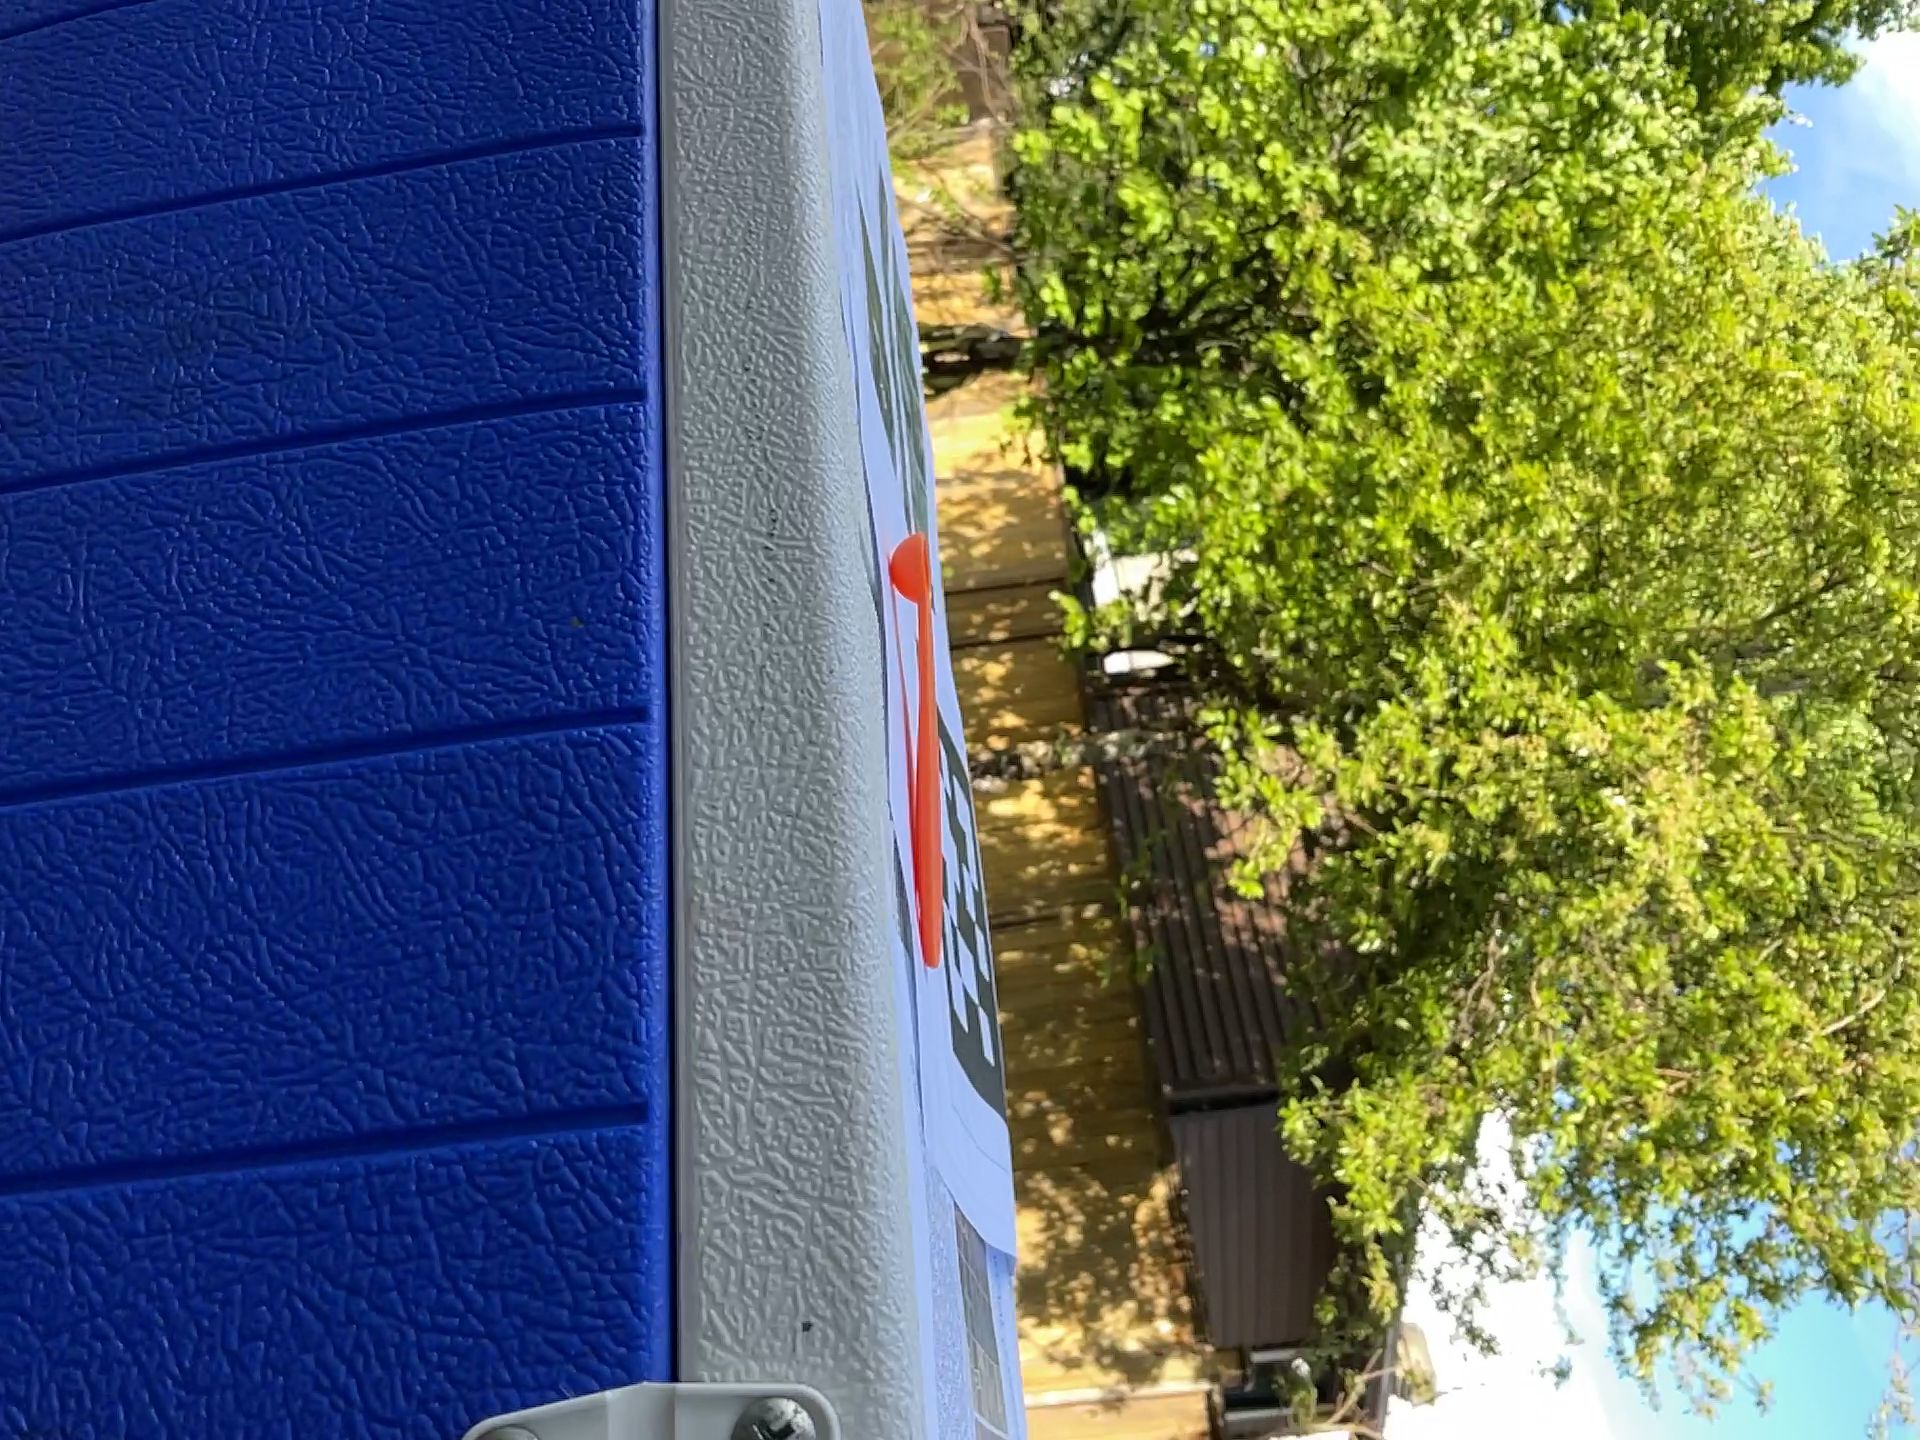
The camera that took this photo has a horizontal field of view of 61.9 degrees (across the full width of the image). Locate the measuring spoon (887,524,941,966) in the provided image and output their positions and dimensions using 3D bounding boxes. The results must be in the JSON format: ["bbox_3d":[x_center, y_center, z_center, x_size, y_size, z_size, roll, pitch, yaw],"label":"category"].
[{"bbox_3d":[-0.012,0.004,0.397,0.021,0.011,0.117,77,10,-66],"label":"measuring spoon"}]
